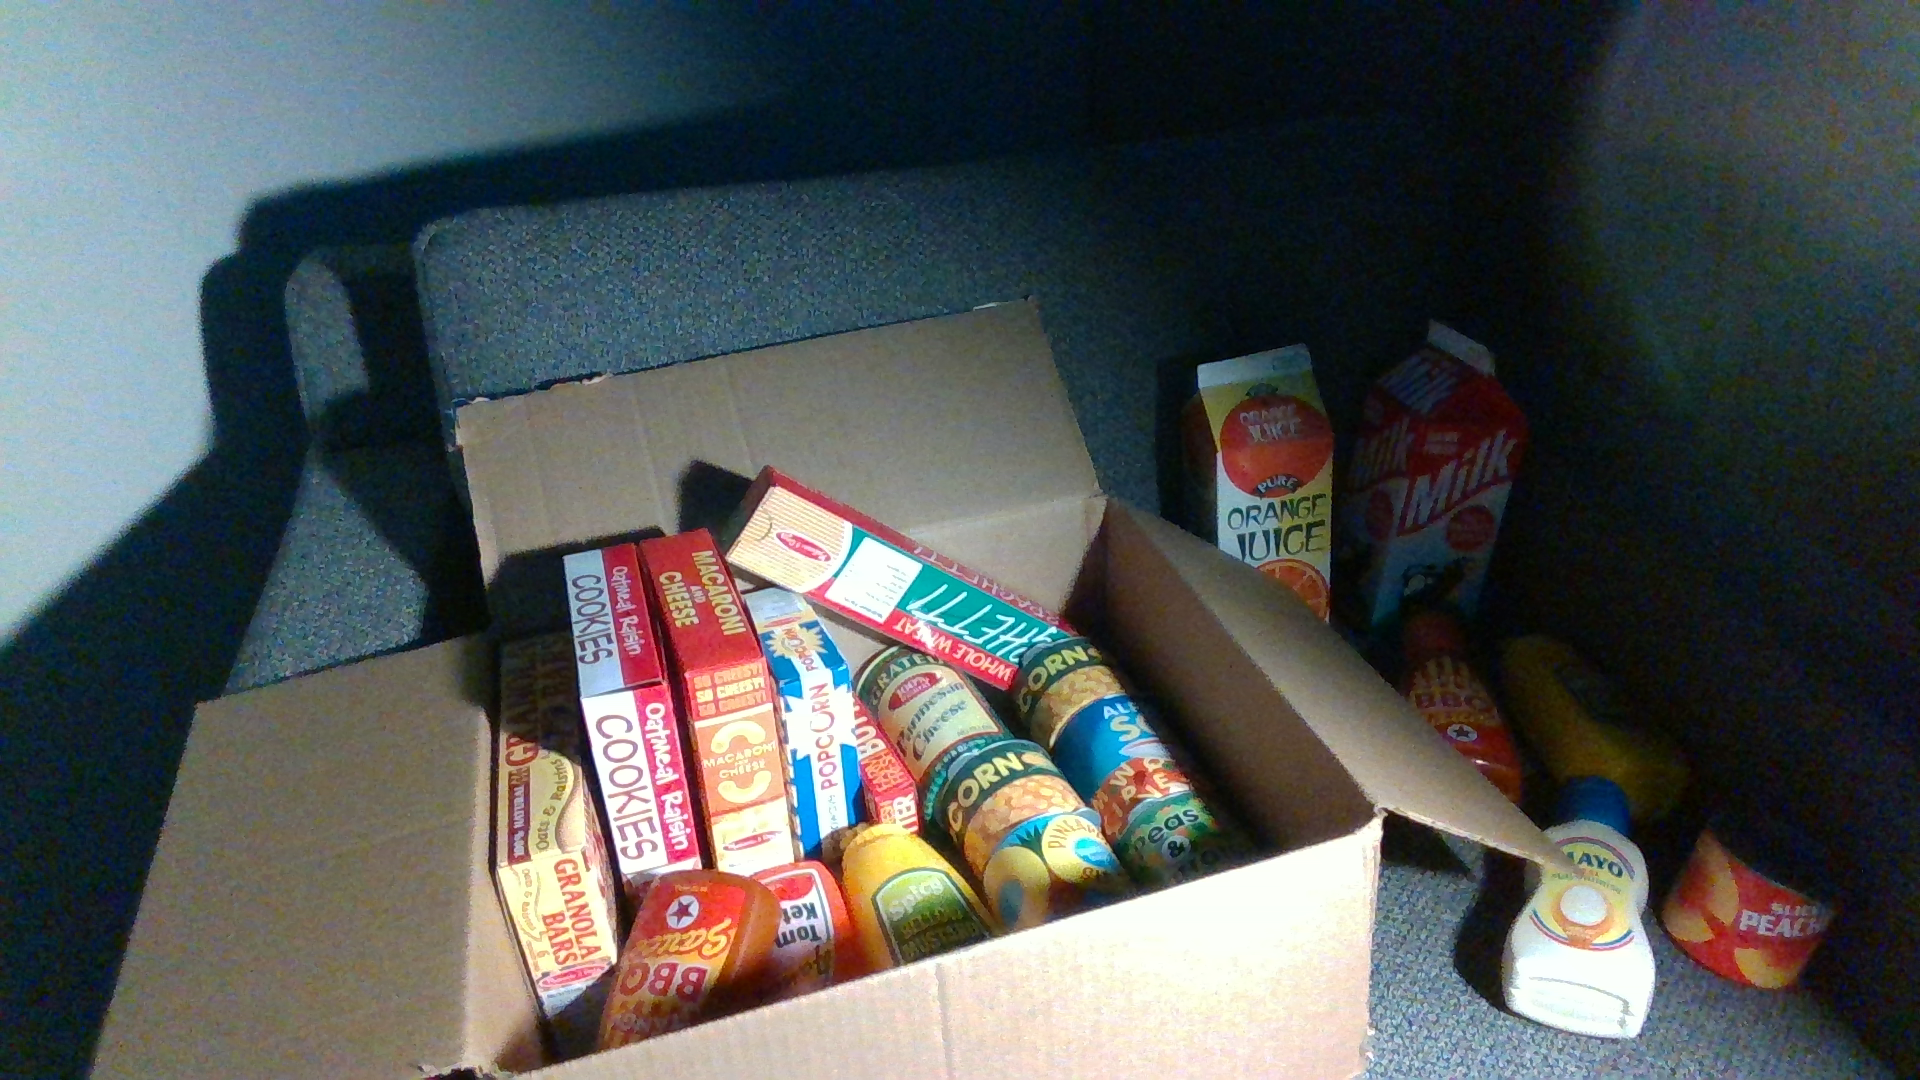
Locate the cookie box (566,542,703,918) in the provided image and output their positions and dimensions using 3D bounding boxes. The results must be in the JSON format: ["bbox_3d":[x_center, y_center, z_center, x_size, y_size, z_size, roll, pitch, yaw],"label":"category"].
[{"bbox_3d":[-0.157,0.103,0.684,0.040,0.166,0.123,-11,32,-13],"label":"cookie box"}]

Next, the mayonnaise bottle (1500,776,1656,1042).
[{"bbox_3d":[0.301,0.172,0.670,0.065,0.041,0.149,7,31,24],"label":"mayonnaise bottle"}]

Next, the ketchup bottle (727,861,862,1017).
[{"bbox_3d":[-0.070,0.211,0.616,0.065,0.043,0.149,-19,34,-7],"label":"ketchup bottle"}]

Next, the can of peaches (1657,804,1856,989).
[{"bbox_3d":[0.377,0.171,0.659,0.071,0.057,0.071,12,26,-6],"label":"can of peaches"}]

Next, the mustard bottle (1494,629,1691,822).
[{"bbox_3d":[0.351,0.095,0.806,0.065,0.048,0.161,9,28,-17],"label":"mustard bottle"}]

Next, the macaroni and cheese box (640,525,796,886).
[{"bbox_3d":[-0.119,0.094,0.696,0.040,0.165,0.124,-13,33,-16],"label":"macaroni and cheese box"}]

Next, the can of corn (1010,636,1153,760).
[{"bbox_3d":[0.067,0.095,0.771,0.071,0.070,0.058,-10,31,-15],"label":"can of corn"}]

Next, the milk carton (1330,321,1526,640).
[{"bbox_3d":[0.292,-0.036,0.872,0.073,0.189,0.072,0,25,-13],"label":"milk carton"}]

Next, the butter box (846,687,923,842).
[{"bbox_3d":[-0.052,0.125,0.752,0.024,0.052,0.104,-18,34,-19],"label":"butter box"}]

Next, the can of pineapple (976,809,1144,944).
[{"bbox_3d":[0.049,0.170,0.649,0.071,0.070,0.058,-13,33,-19],"label":"can of pineapple"}]

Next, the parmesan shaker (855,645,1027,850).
[{"bbox_3d":[-0.006,0.108,0.754,0.071,0.071,0.103,-14,32,-20],"label":"parmesan shaker"}]

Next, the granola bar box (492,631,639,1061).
[{"bbox_3d":[-0.190,0.141,0.667,0.039,0.123,0.166,-12,32,-10],"label":"granola bar box"}]

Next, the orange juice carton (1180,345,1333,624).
[{"bbox_3d":[0.181,-0.024,0.858,0.072,0.191,0.073,-9,26,-7],"label":"orange juice carton"}]

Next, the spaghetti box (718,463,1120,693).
[{"bbox_3d":[-0.015,0.035,0.765,0.250,0.050,0.029,28,16,-30],"label":"spaghetti box"}]

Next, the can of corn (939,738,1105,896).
[{"bbox_3d":[0.029,0.141,0.692,0.071,0.070,0.058,-13,33,-20],"label":"can of corn"}]

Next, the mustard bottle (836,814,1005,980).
[{"bbox_3d":[-0.026,0.180,0.664,0.065,0.048,0.161,-12,33,-23],"label":"mustard bottle"}]

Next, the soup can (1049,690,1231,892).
[{"bbox_3d":[0.093,0.126,0.714,0.071,0.071,0.084,-11,31,-16],"label":"soup can"}]

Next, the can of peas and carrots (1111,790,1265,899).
[{"bbox_3d":[0.112,0.161,0.658,0.071,0.070,0.059,-11,32,-16],"label":"can of peas and carrots"}]

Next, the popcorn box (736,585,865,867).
[{"bbox_3d":[-0.085,0.098,0.735,0.038,0.126,0.085,-15,34,-19],"label":"popcorn box"}]

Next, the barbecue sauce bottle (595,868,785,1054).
[{"bbox_3d":[-0.125,0.215,0.587,0.065,0.043,0.149,-3,47,24],"label":"barbecue sauce bottle"}]

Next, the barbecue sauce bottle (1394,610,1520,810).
[{"bbox_3d":[0.277,0.095,0.796,0.065,0.043,0.149,5,30,9],"label":"barbecue sauce bottle"}]
